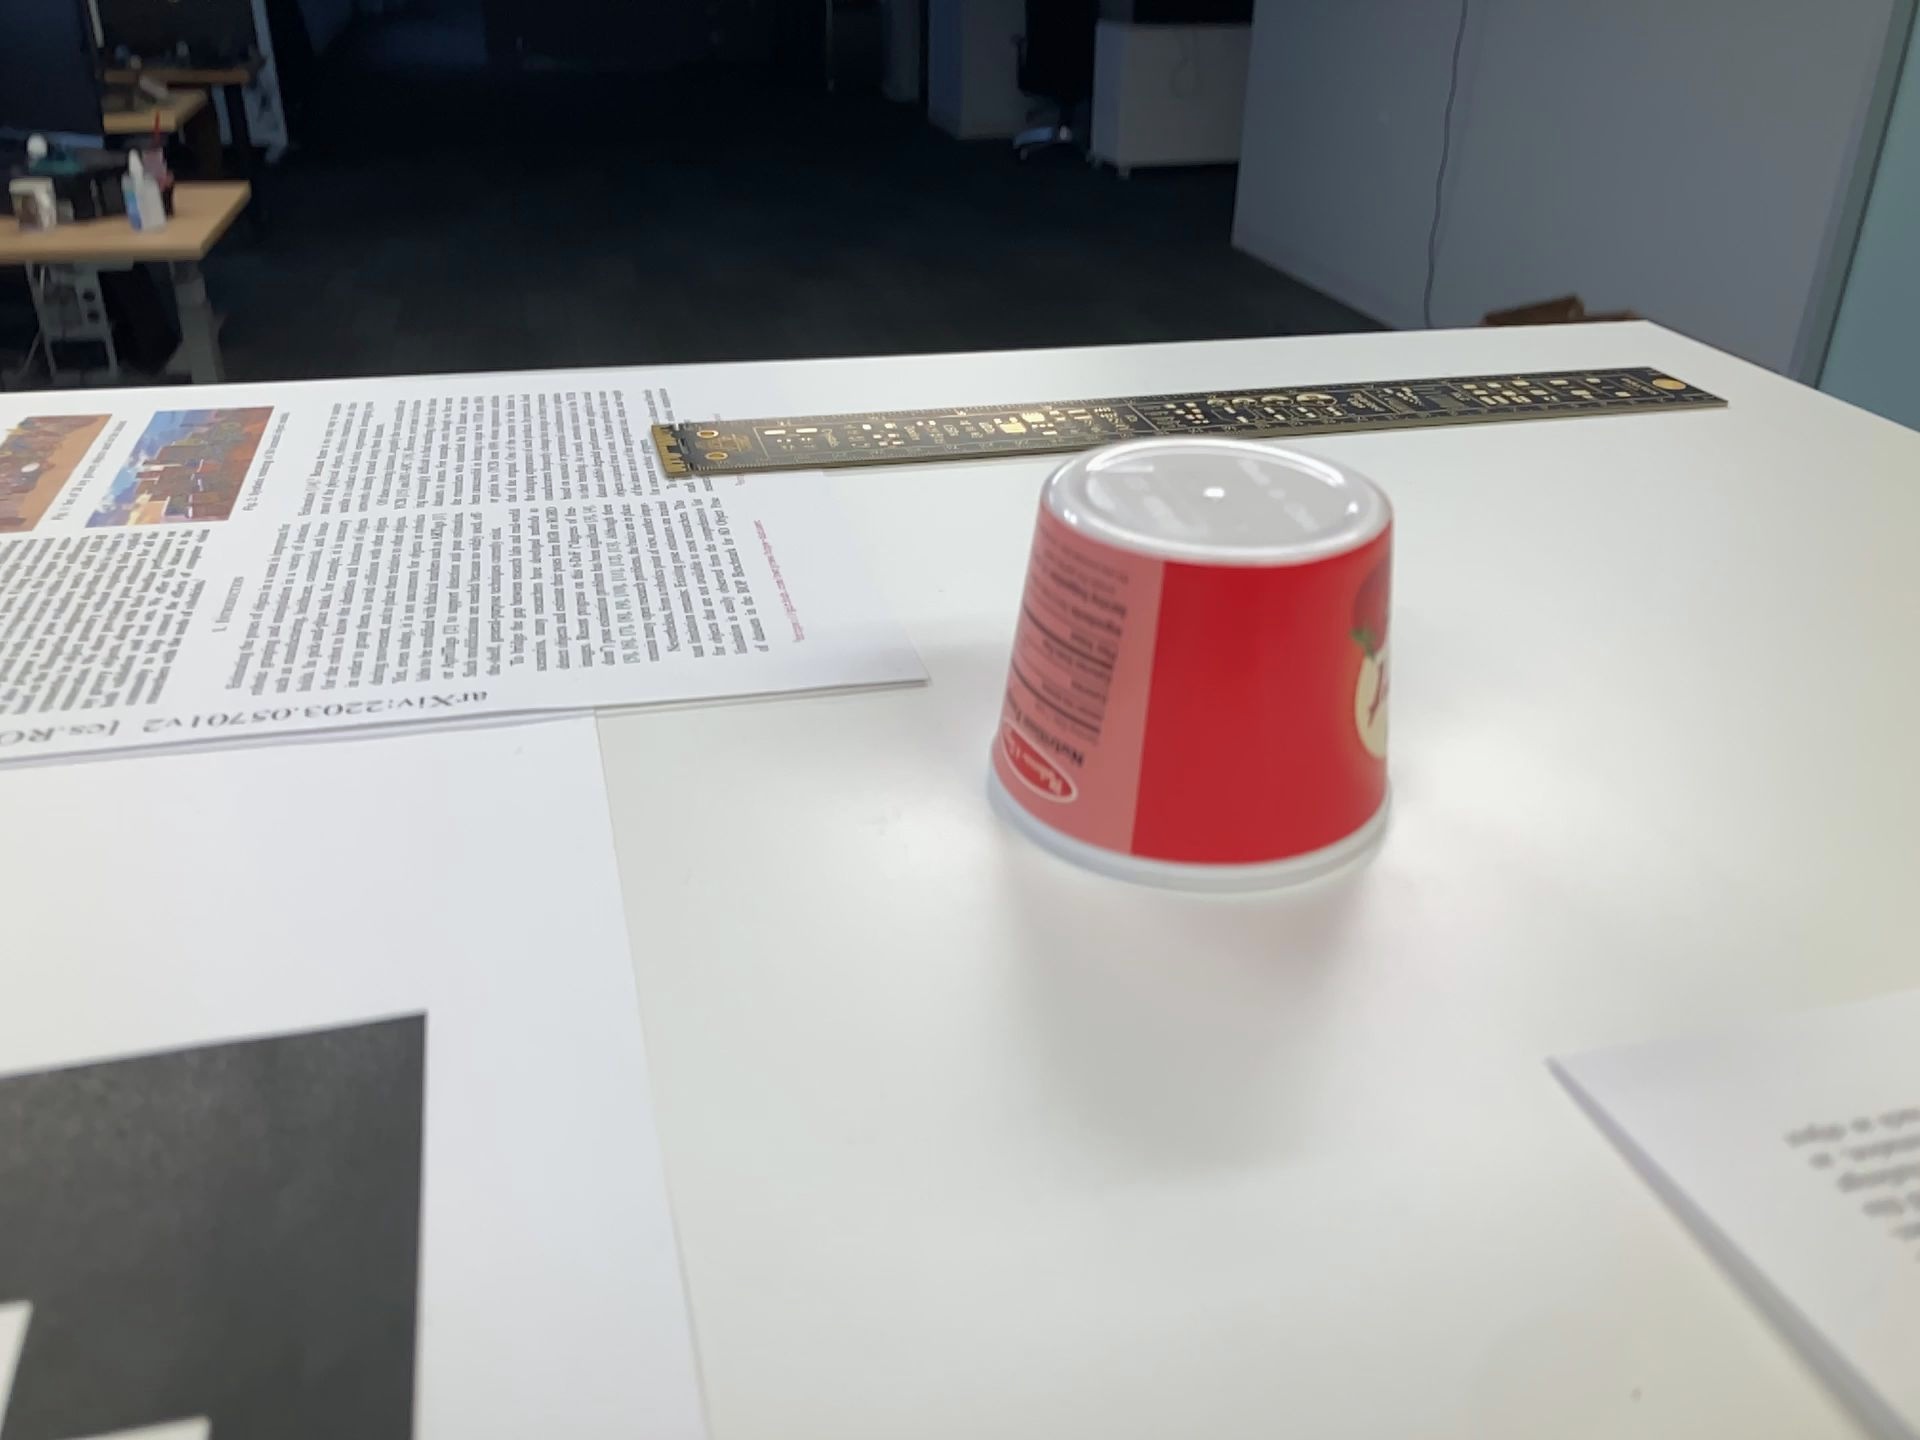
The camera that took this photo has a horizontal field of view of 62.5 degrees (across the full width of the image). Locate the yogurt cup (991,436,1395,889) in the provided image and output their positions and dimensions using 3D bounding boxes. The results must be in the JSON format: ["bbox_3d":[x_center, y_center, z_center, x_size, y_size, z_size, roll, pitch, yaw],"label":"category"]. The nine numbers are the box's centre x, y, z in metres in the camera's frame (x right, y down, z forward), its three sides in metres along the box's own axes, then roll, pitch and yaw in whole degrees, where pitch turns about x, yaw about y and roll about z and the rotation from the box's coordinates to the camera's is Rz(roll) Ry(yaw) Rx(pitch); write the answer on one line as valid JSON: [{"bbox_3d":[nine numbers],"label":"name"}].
[{"bbox_3d":[0.040,-0.013,0.261,0.072,0.054,0.072,1,29,-1],"label":"yogurt cup"}]
